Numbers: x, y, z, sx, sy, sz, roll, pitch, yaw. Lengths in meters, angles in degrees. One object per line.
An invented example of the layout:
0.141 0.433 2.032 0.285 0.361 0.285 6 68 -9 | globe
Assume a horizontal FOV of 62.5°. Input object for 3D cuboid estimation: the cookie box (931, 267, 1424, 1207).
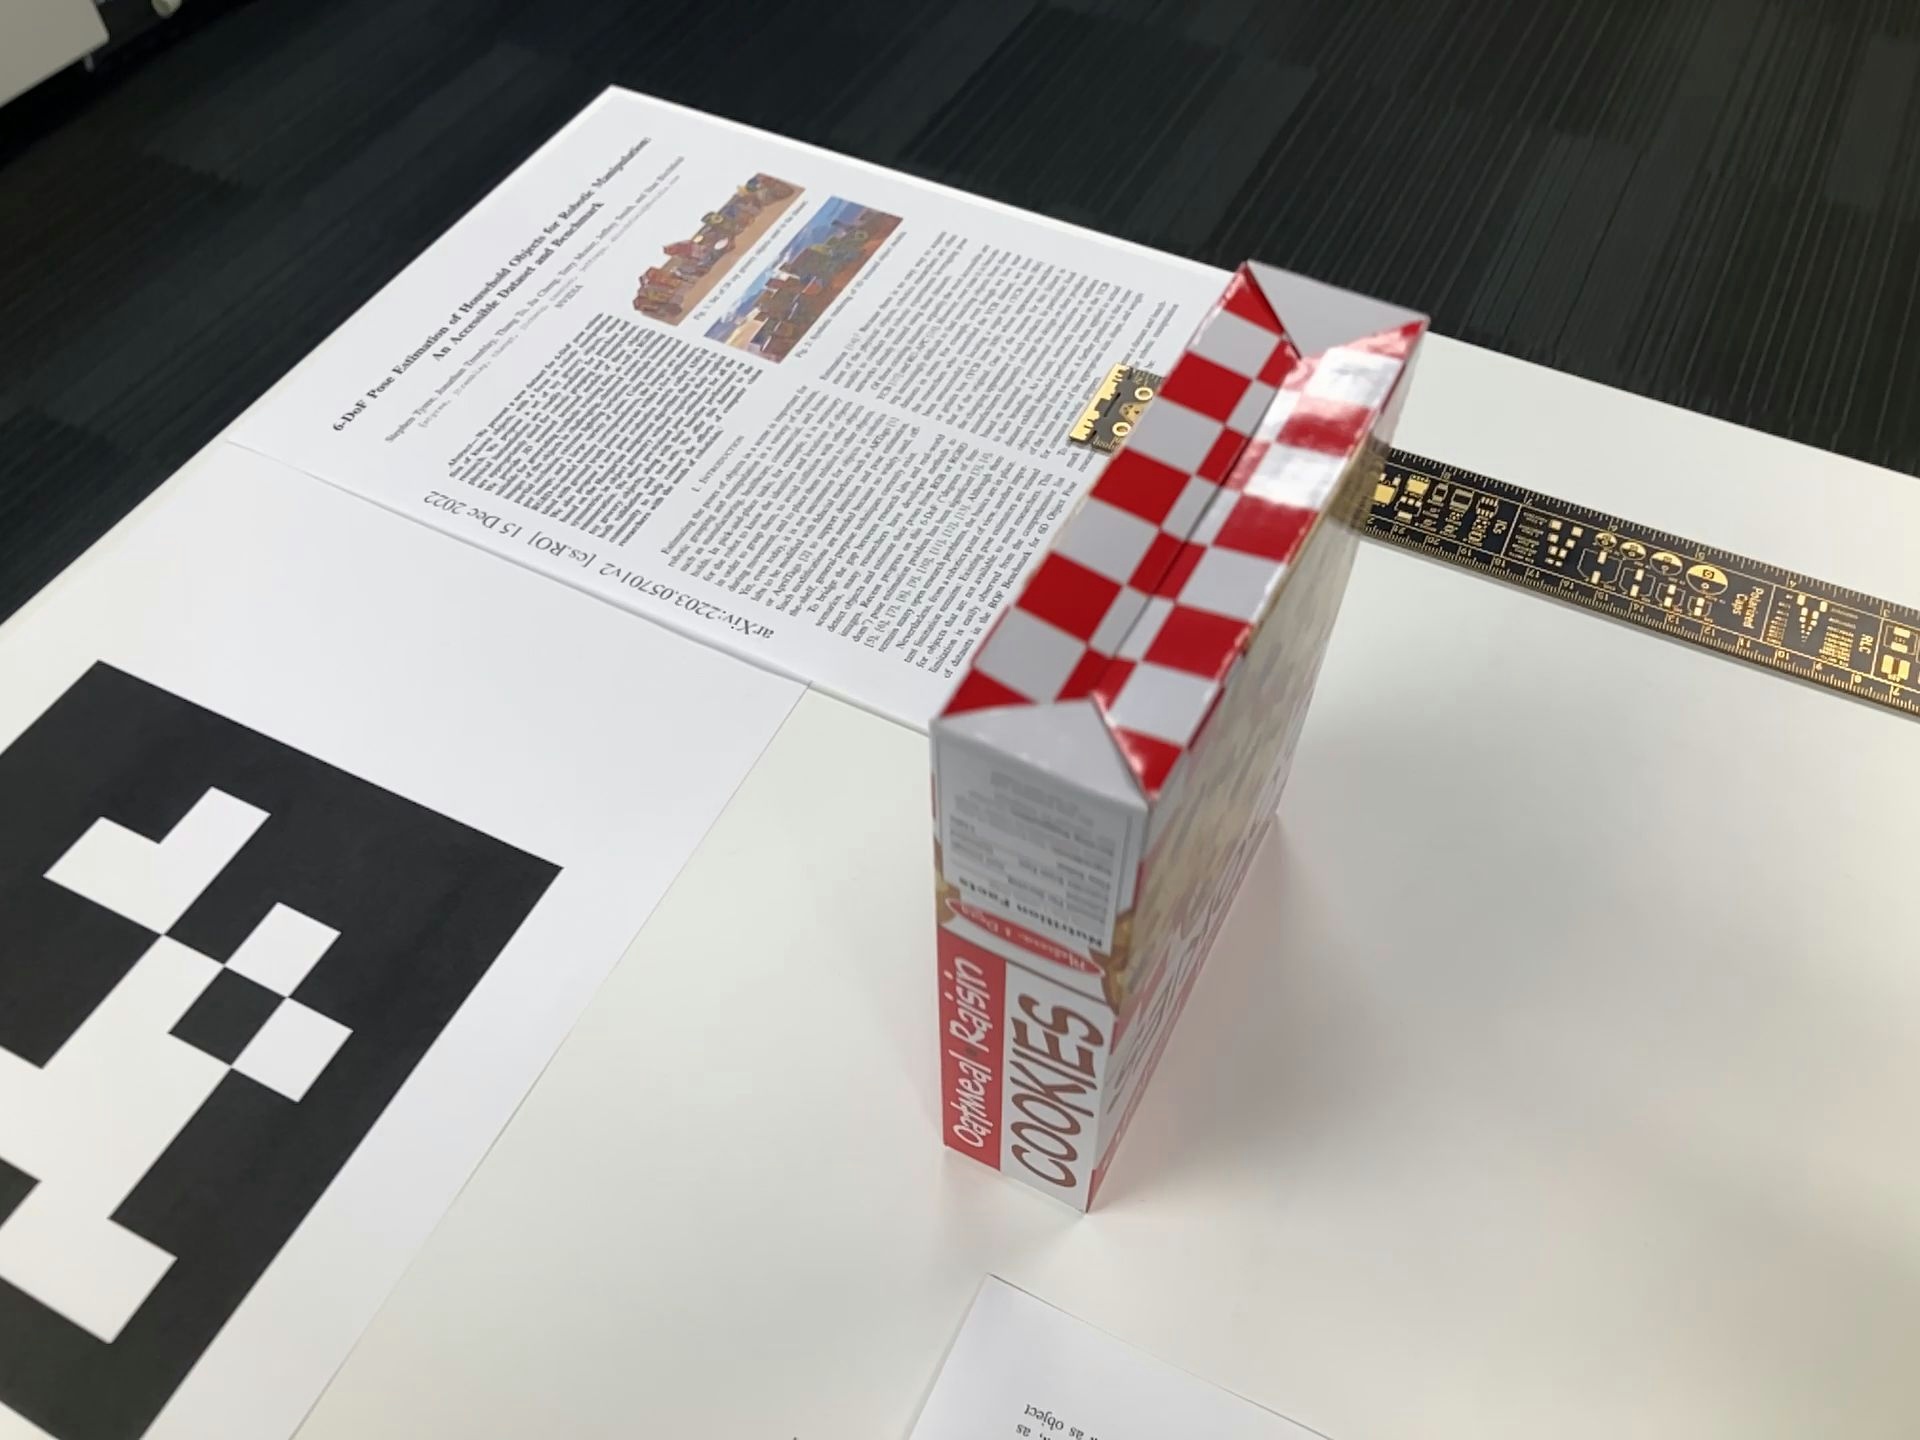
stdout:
0.040 0.013 0.330 0.040 0.167 0.123 23 58 16 | cookie box
